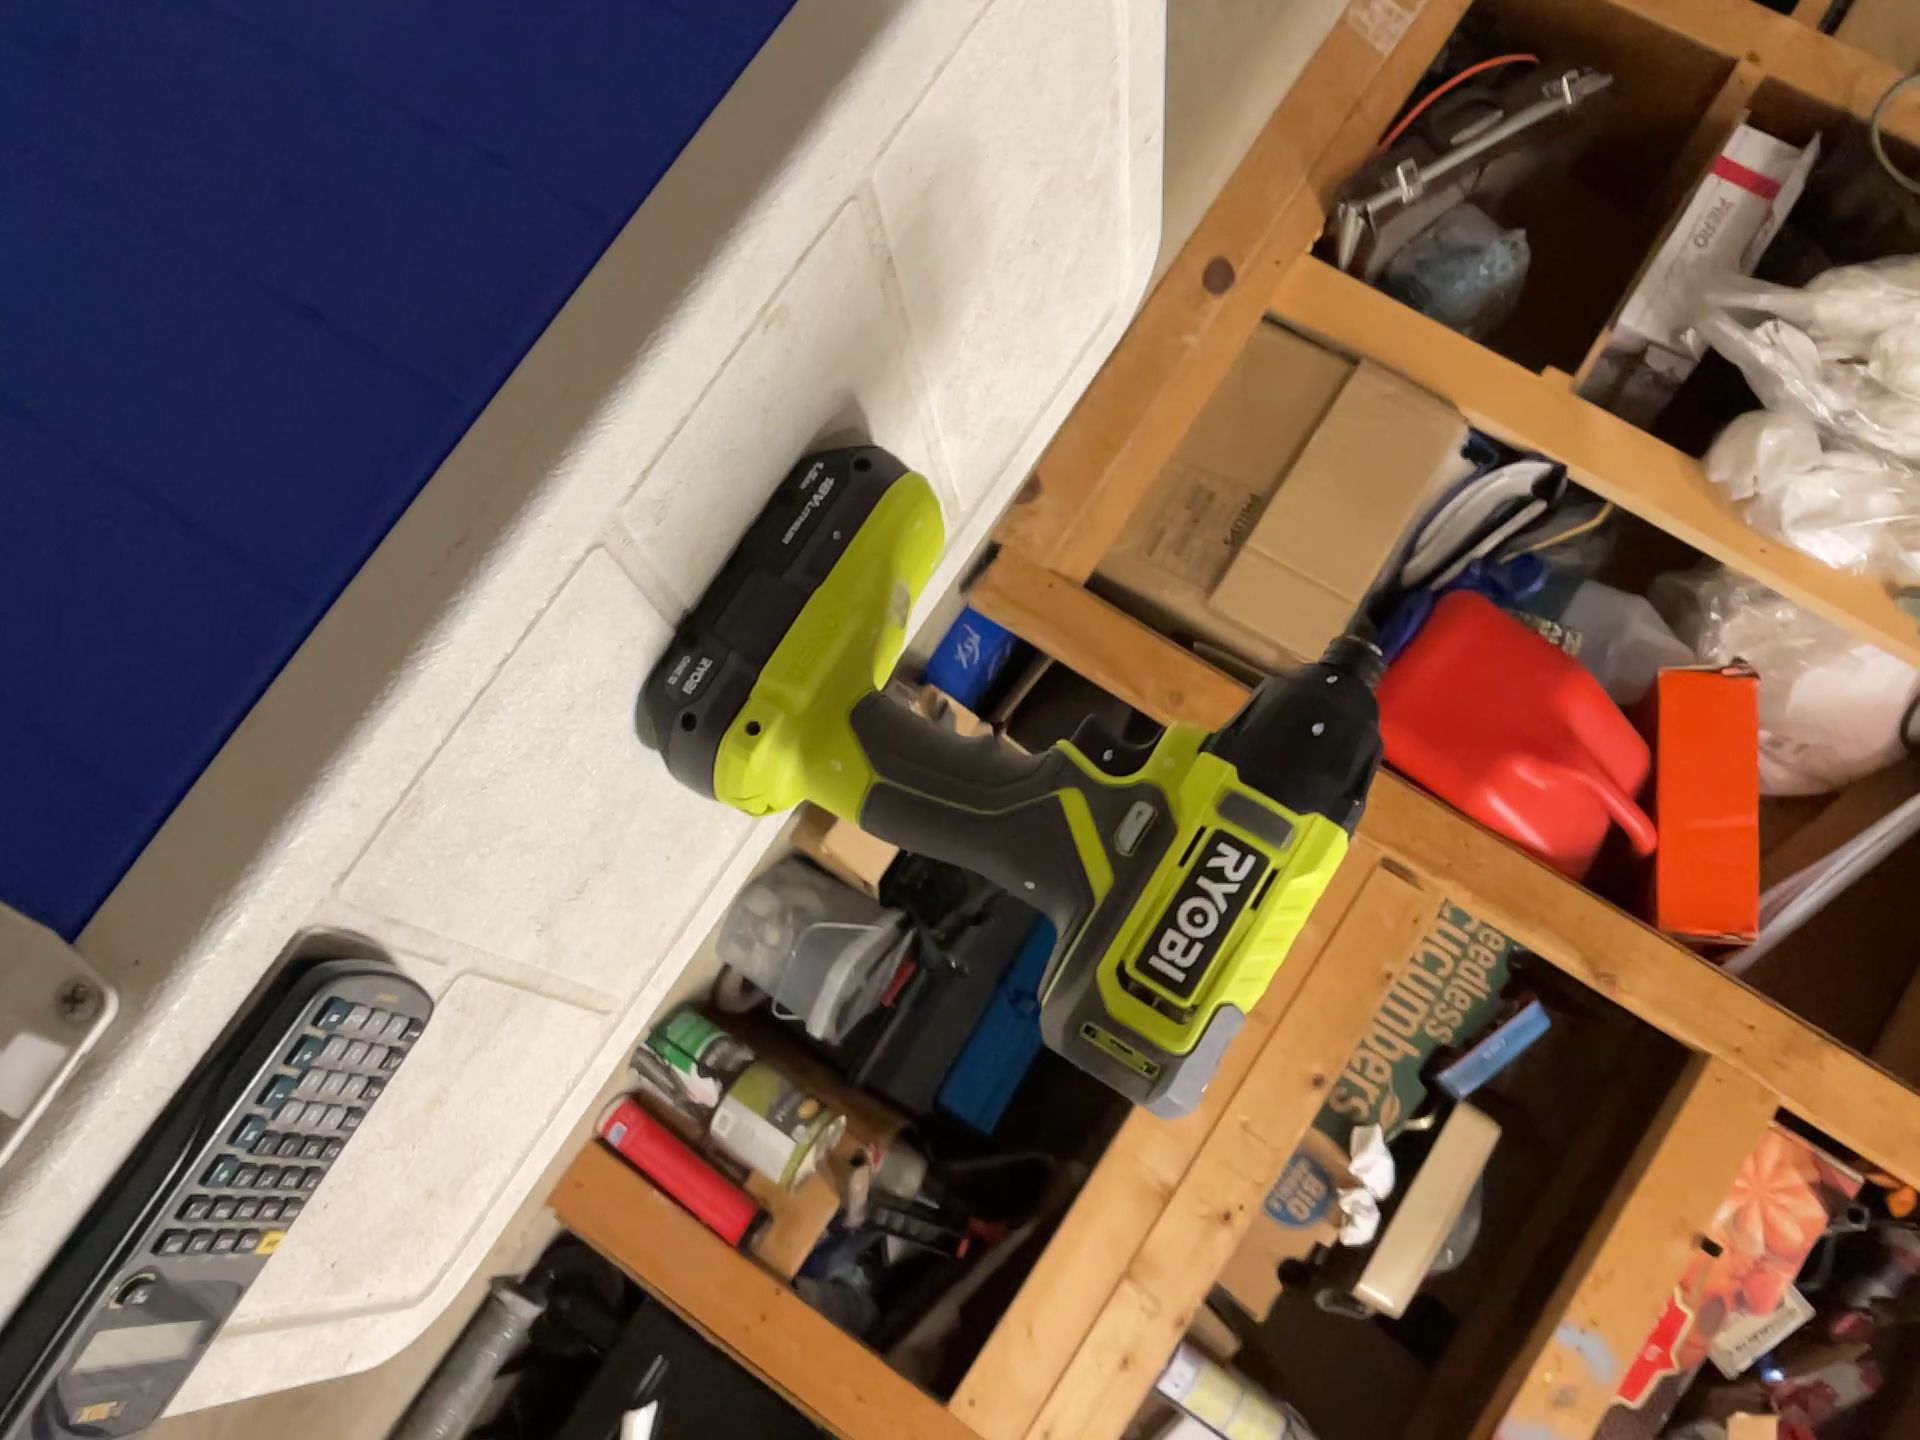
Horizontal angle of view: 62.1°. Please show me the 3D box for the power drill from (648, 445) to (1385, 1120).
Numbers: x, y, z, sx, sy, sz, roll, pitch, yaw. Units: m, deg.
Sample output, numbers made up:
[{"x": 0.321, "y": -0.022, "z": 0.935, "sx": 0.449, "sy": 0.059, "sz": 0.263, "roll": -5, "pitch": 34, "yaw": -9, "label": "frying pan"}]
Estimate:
[{"x": 0.023, "y": 0.006, "z": 0.553, "sx": 0.171, "sy": 0.223, "sz": 0.080, "roll": -58, "pitch": 167, "yaw": -8, "label": "power drill"}]
